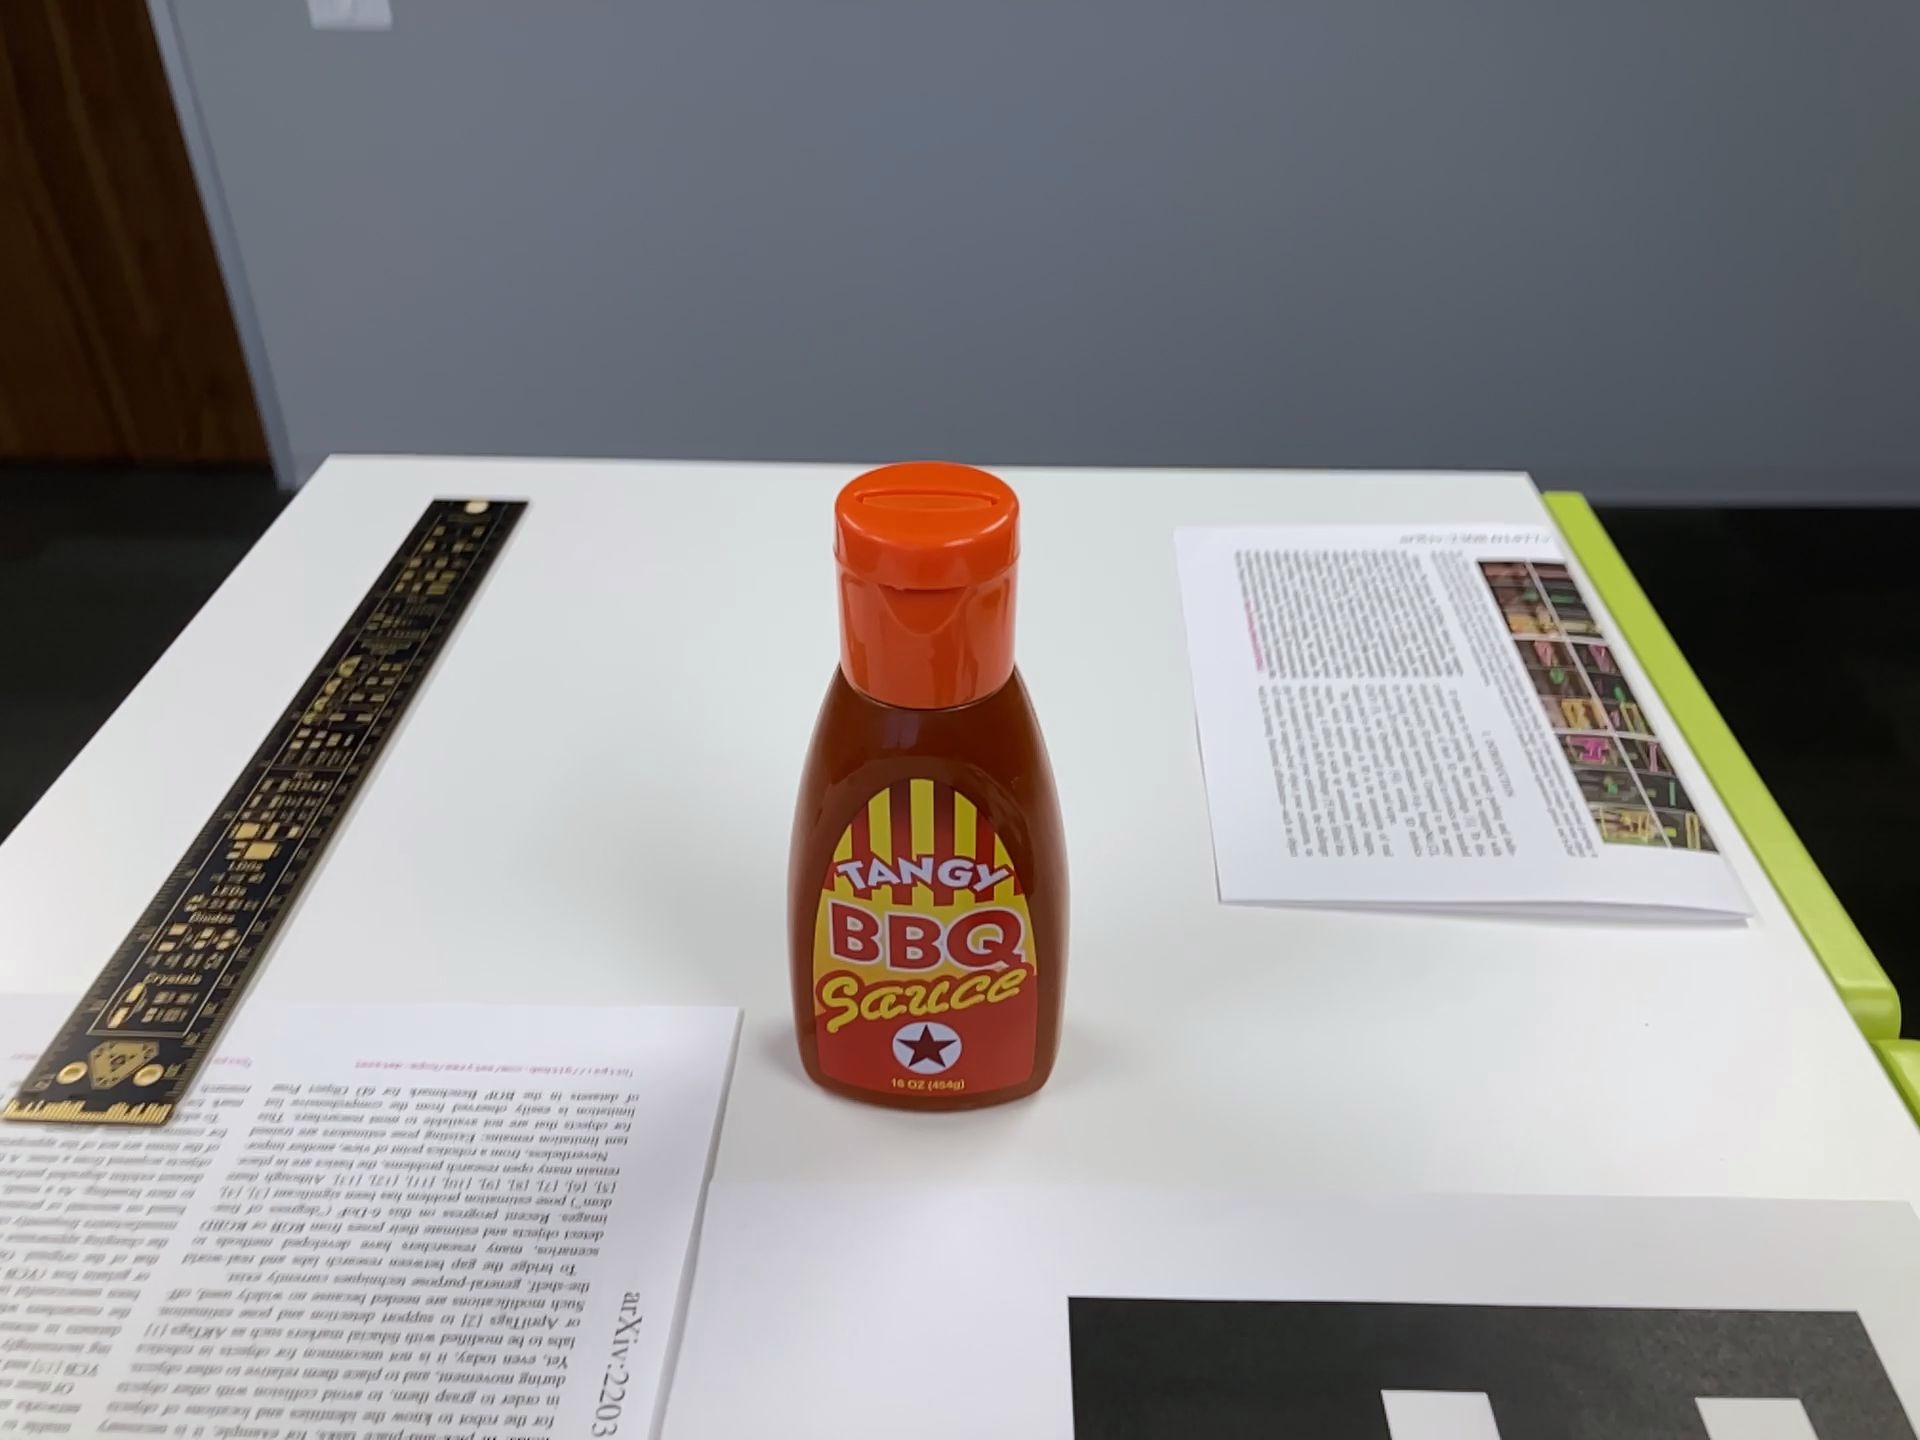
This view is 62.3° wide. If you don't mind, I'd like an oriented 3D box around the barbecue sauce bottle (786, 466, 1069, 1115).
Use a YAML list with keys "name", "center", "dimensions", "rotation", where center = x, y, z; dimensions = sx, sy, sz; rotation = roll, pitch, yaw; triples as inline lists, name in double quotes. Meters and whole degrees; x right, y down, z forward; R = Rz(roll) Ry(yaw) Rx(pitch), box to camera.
- name: "barbecue sauce bottle"
  center: [-0.007, 0.020, 0.346]
  dimensions: [0.065, 0.148, 0.043]
  rotation: [2, 33, 2]
